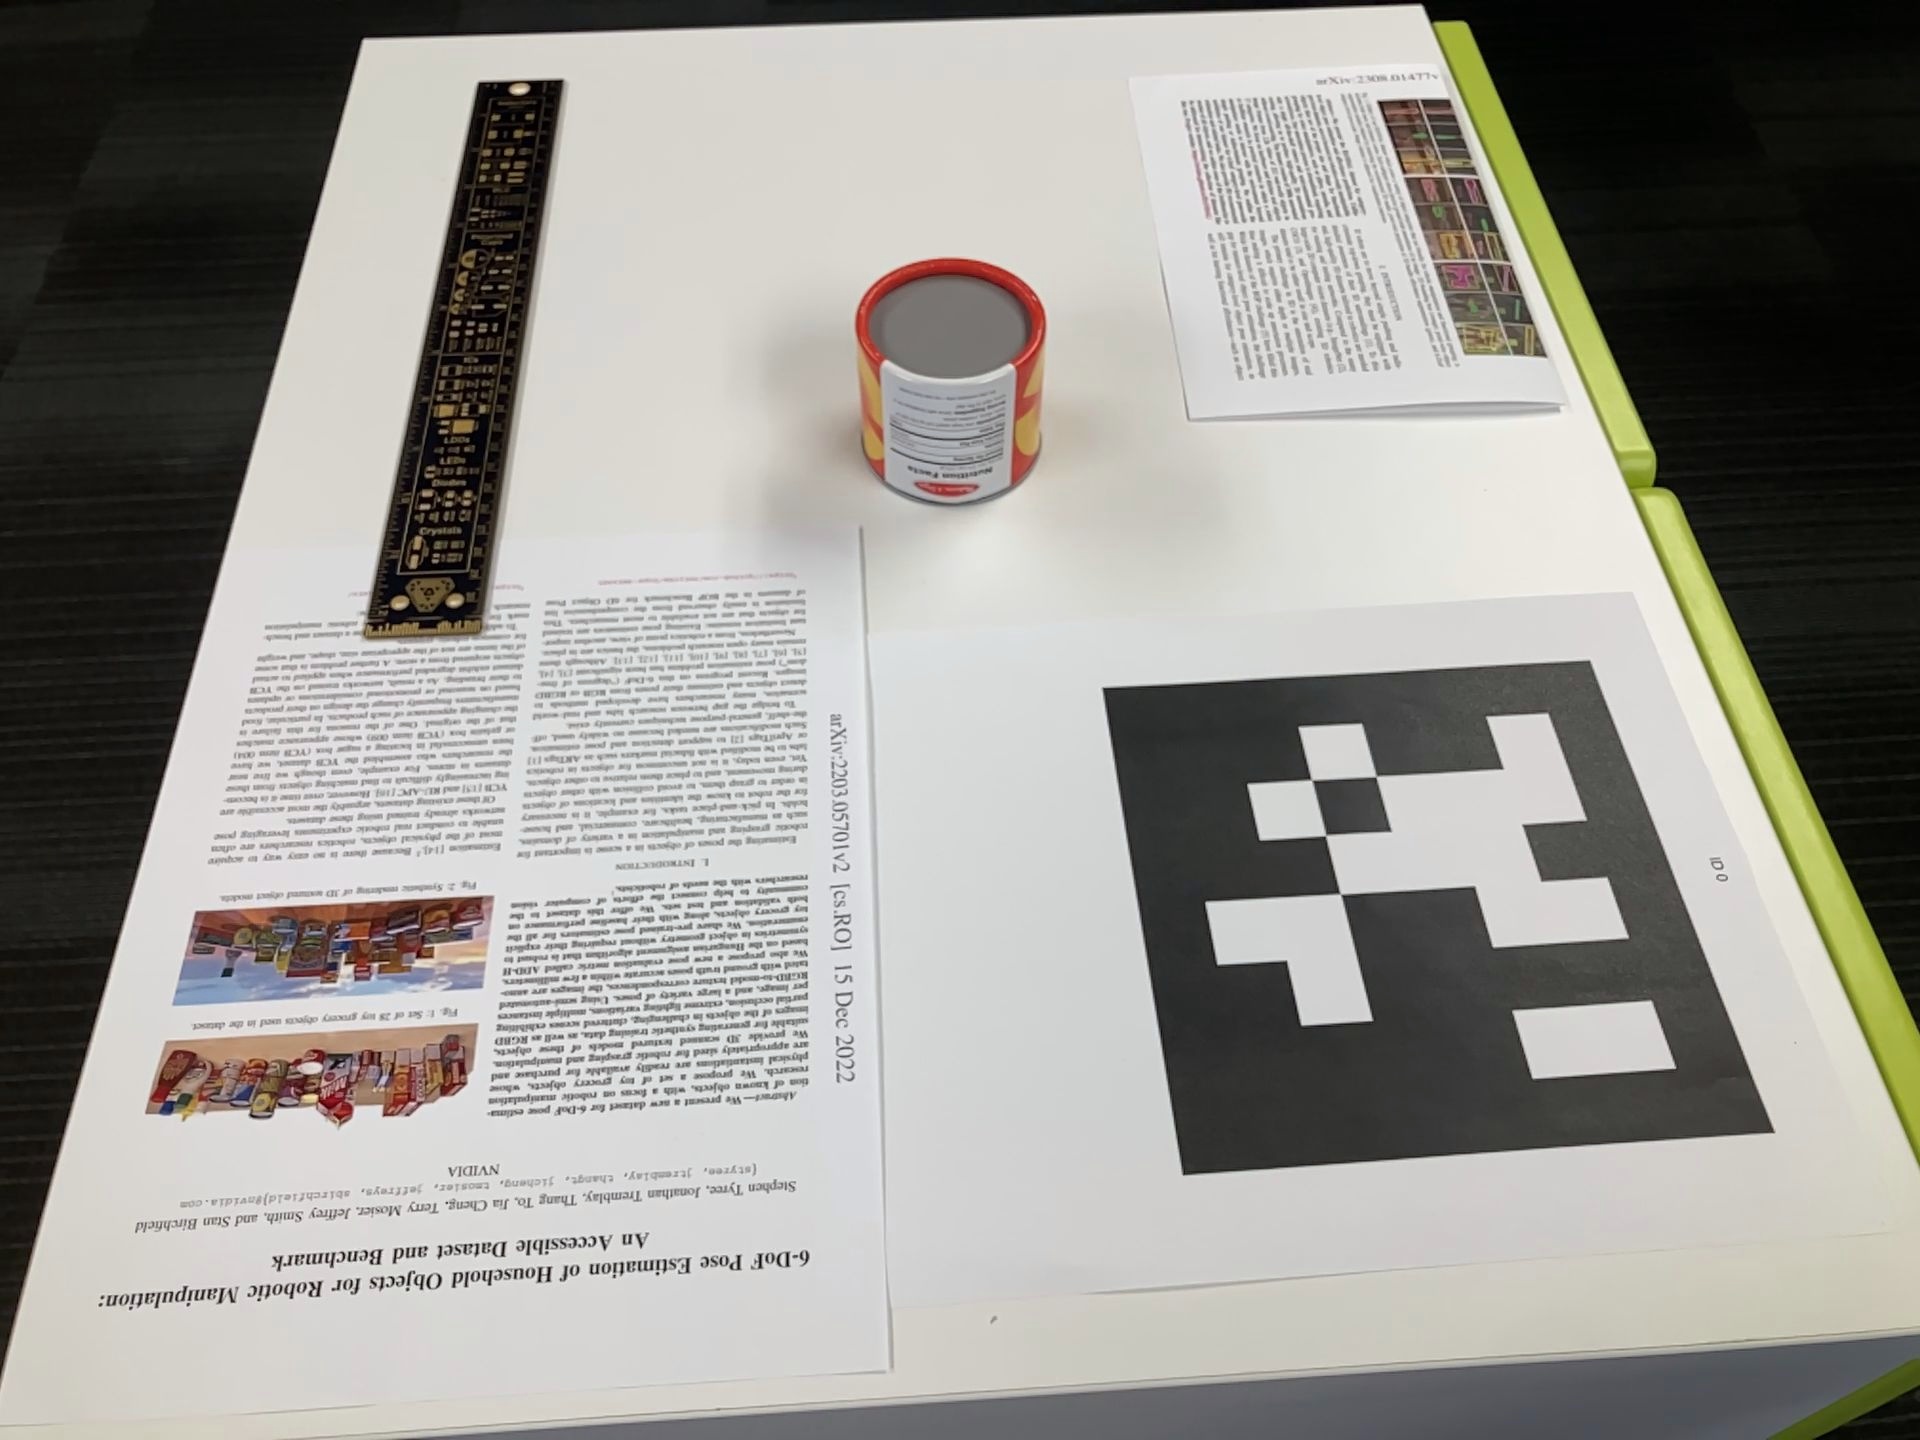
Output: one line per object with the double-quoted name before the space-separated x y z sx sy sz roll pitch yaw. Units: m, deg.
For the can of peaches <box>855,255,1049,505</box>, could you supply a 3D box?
"can of peaches" -0.003 -0.121 0.554 0.071 0.058 0.071 0 55 0
